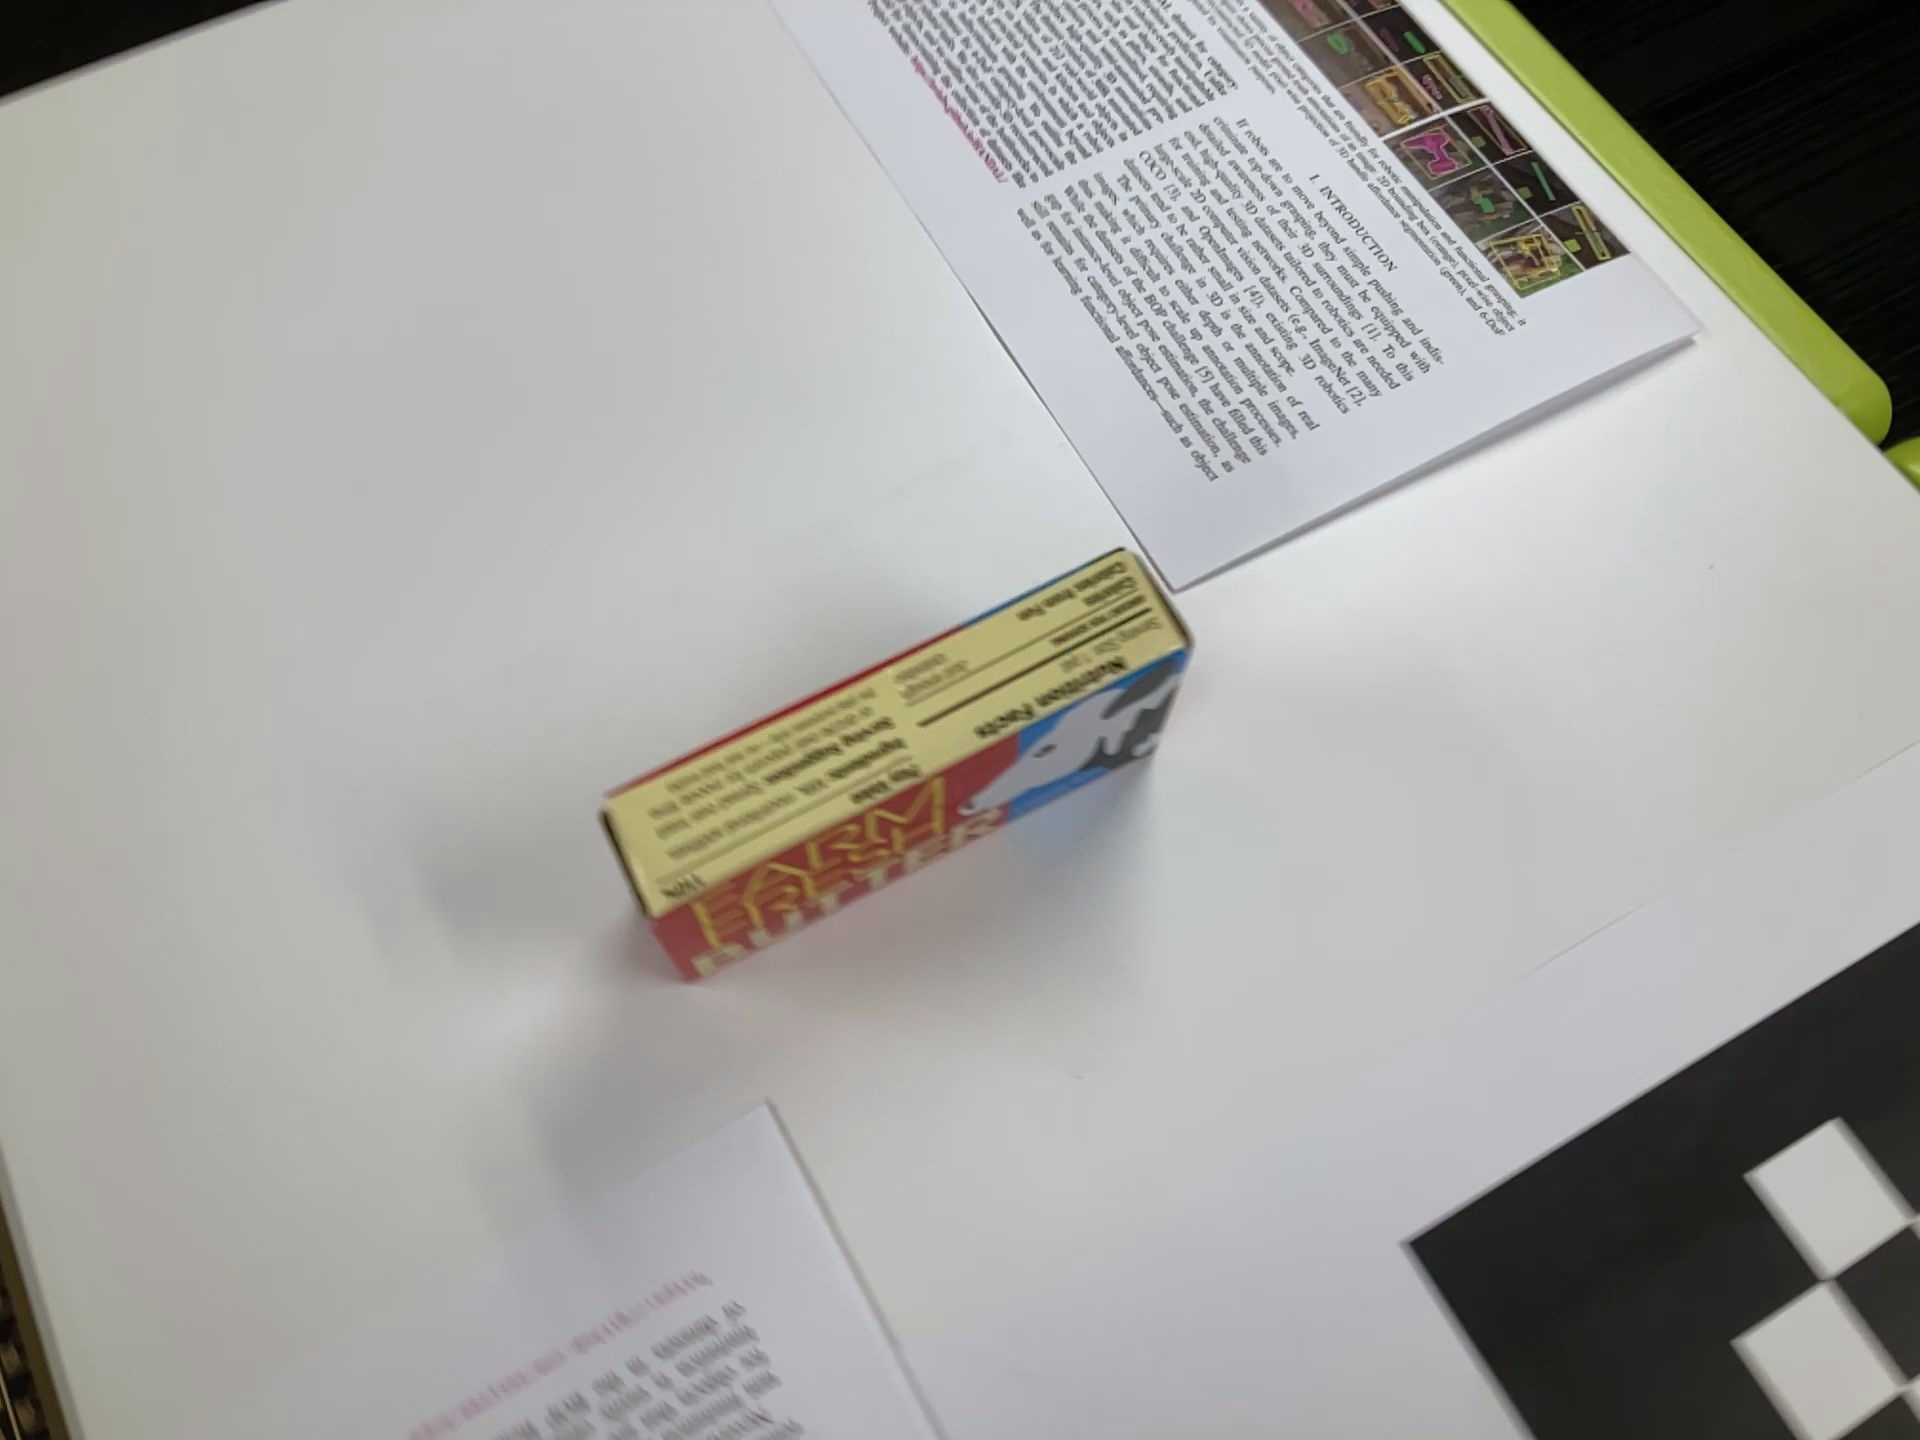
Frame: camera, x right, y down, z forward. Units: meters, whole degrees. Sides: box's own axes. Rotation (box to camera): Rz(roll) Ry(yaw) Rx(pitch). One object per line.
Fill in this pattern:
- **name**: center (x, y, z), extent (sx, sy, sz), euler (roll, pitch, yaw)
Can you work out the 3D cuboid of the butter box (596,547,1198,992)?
- **butter box**: center (-0.011, 0.010, 0.283), extent (0.103, 0.053, 0.024), euler (-26, 71, -12)
